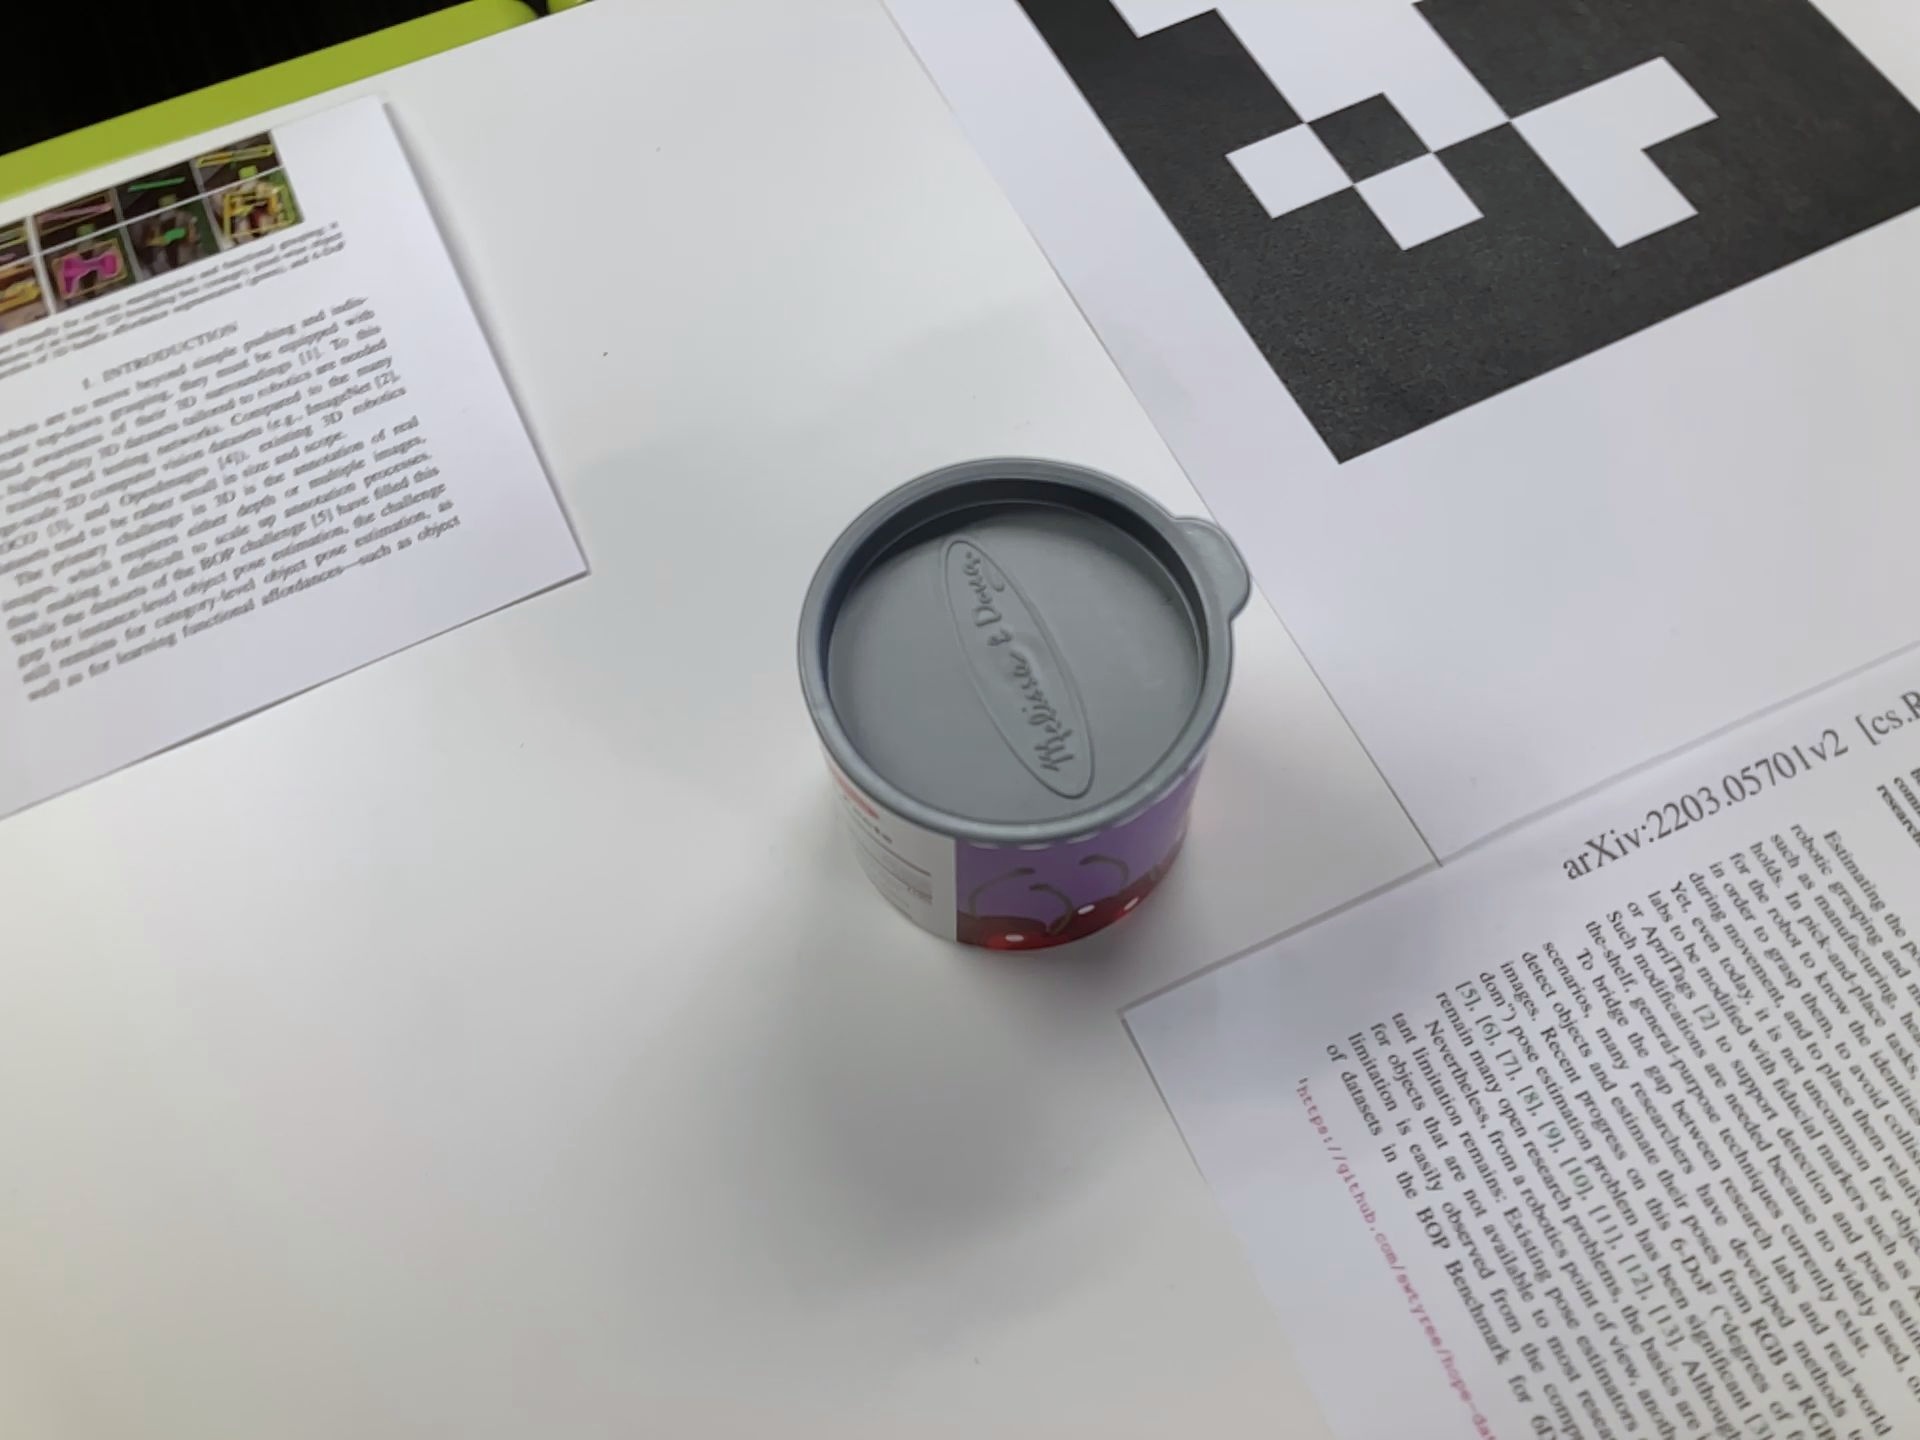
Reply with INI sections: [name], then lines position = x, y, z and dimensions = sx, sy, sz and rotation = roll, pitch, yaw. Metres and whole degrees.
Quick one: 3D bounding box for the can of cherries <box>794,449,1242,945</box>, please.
[can of cherries]
position = 0.011, -0.002, 0.265
dimensions = 0.071, 0.058, 0.071
rotation = -1, 65, 2
